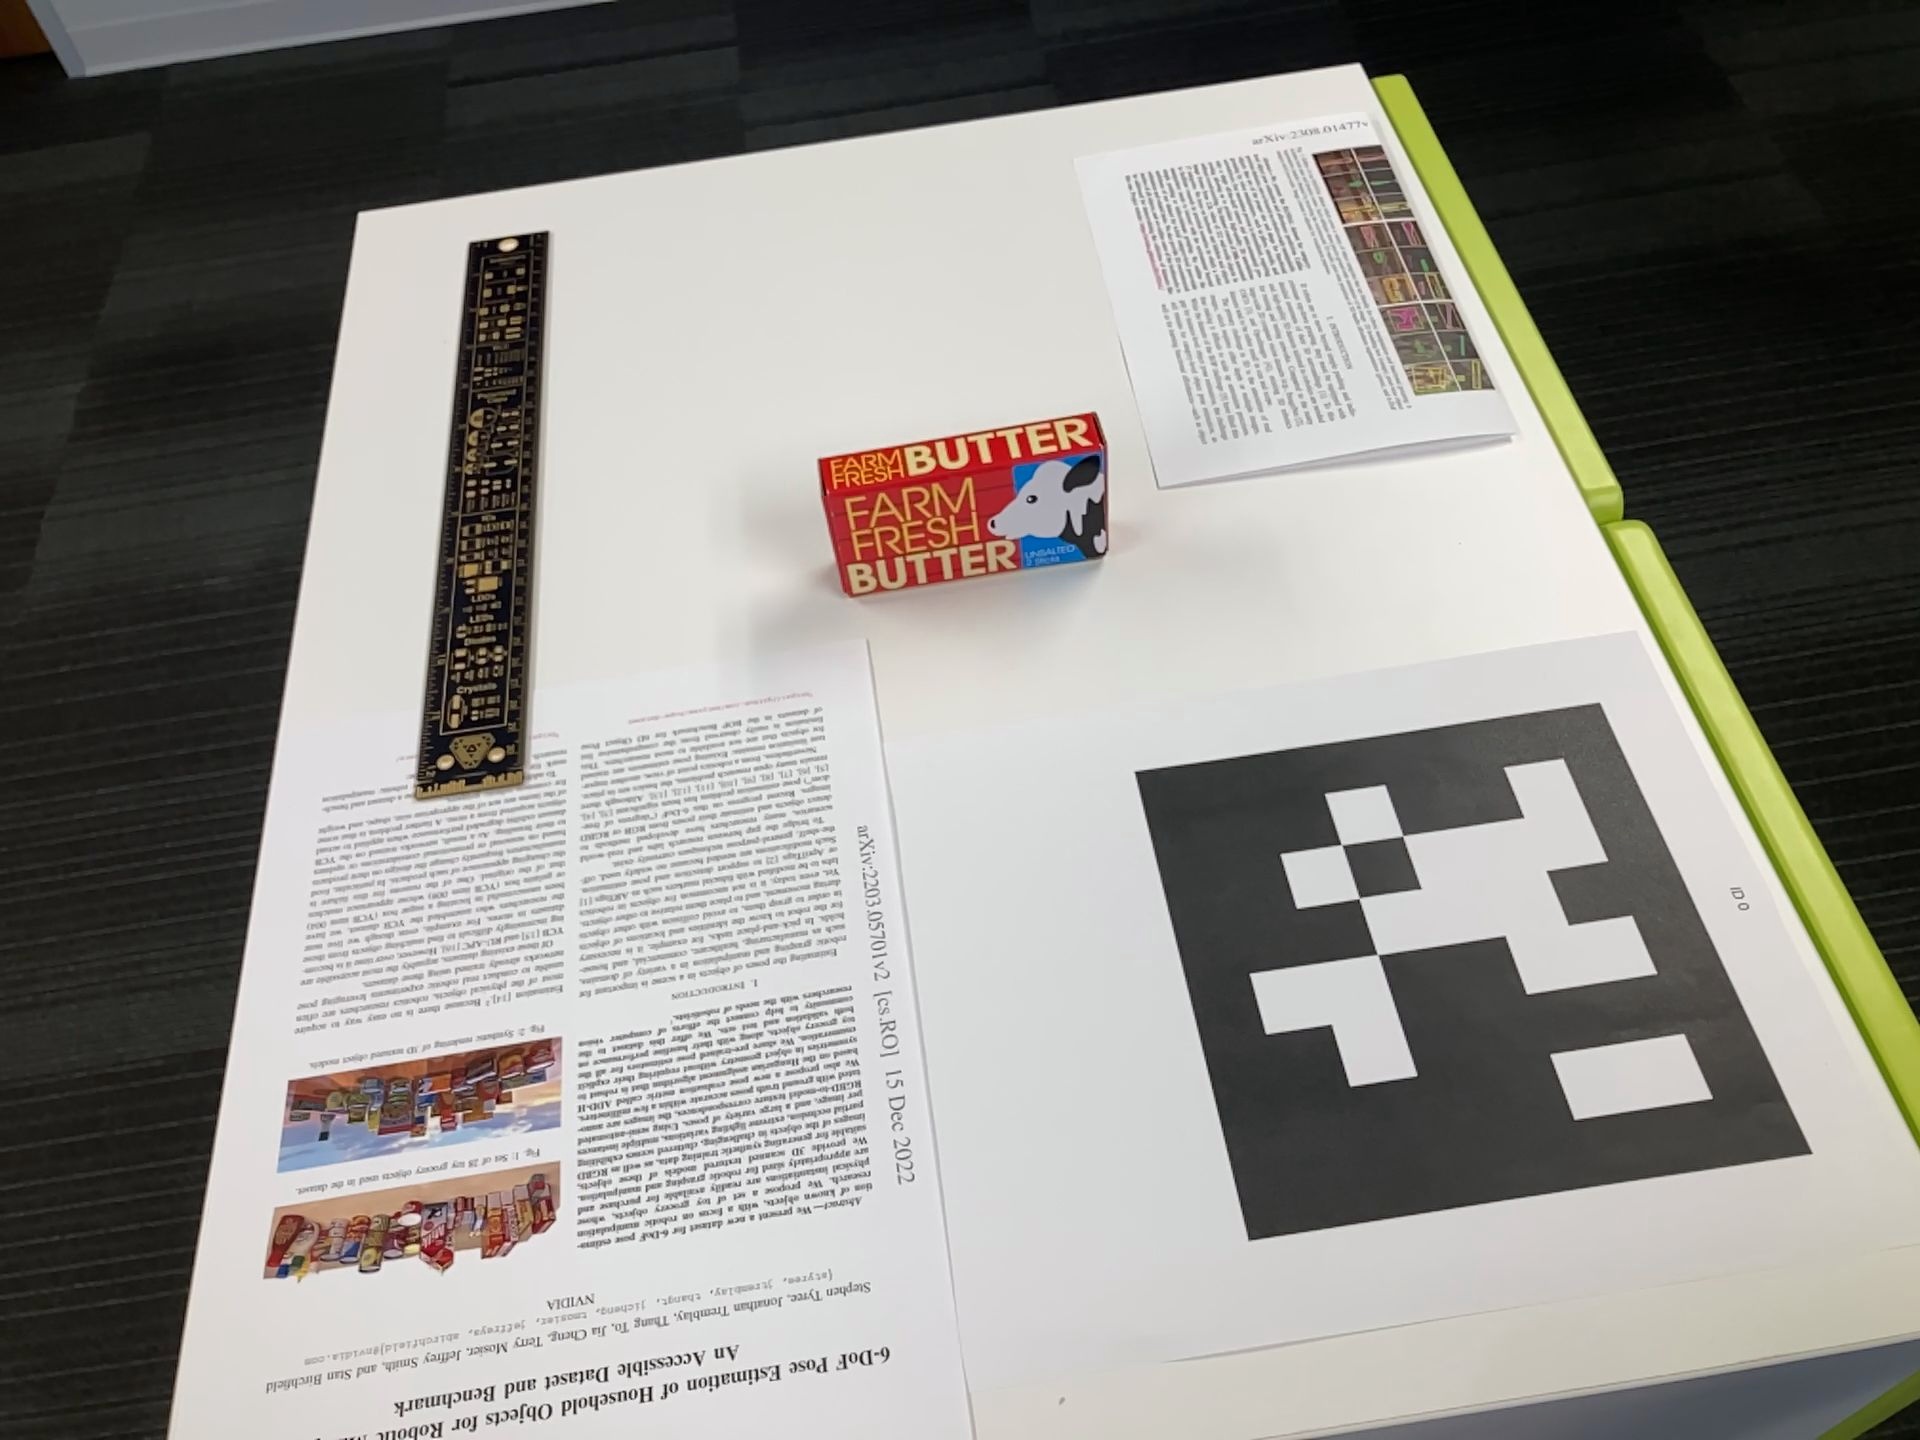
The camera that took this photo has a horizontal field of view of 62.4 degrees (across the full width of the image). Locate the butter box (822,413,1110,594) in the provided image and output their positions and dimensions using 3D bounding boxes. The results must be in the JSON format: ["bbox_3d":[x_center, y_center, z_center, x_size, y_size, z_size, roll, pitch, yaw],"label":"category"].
[{"bbox_3d":[0.003,-0.081,0.593,0.103,0.053,0.024,-9,49,-1],"label":"butter box"}]
